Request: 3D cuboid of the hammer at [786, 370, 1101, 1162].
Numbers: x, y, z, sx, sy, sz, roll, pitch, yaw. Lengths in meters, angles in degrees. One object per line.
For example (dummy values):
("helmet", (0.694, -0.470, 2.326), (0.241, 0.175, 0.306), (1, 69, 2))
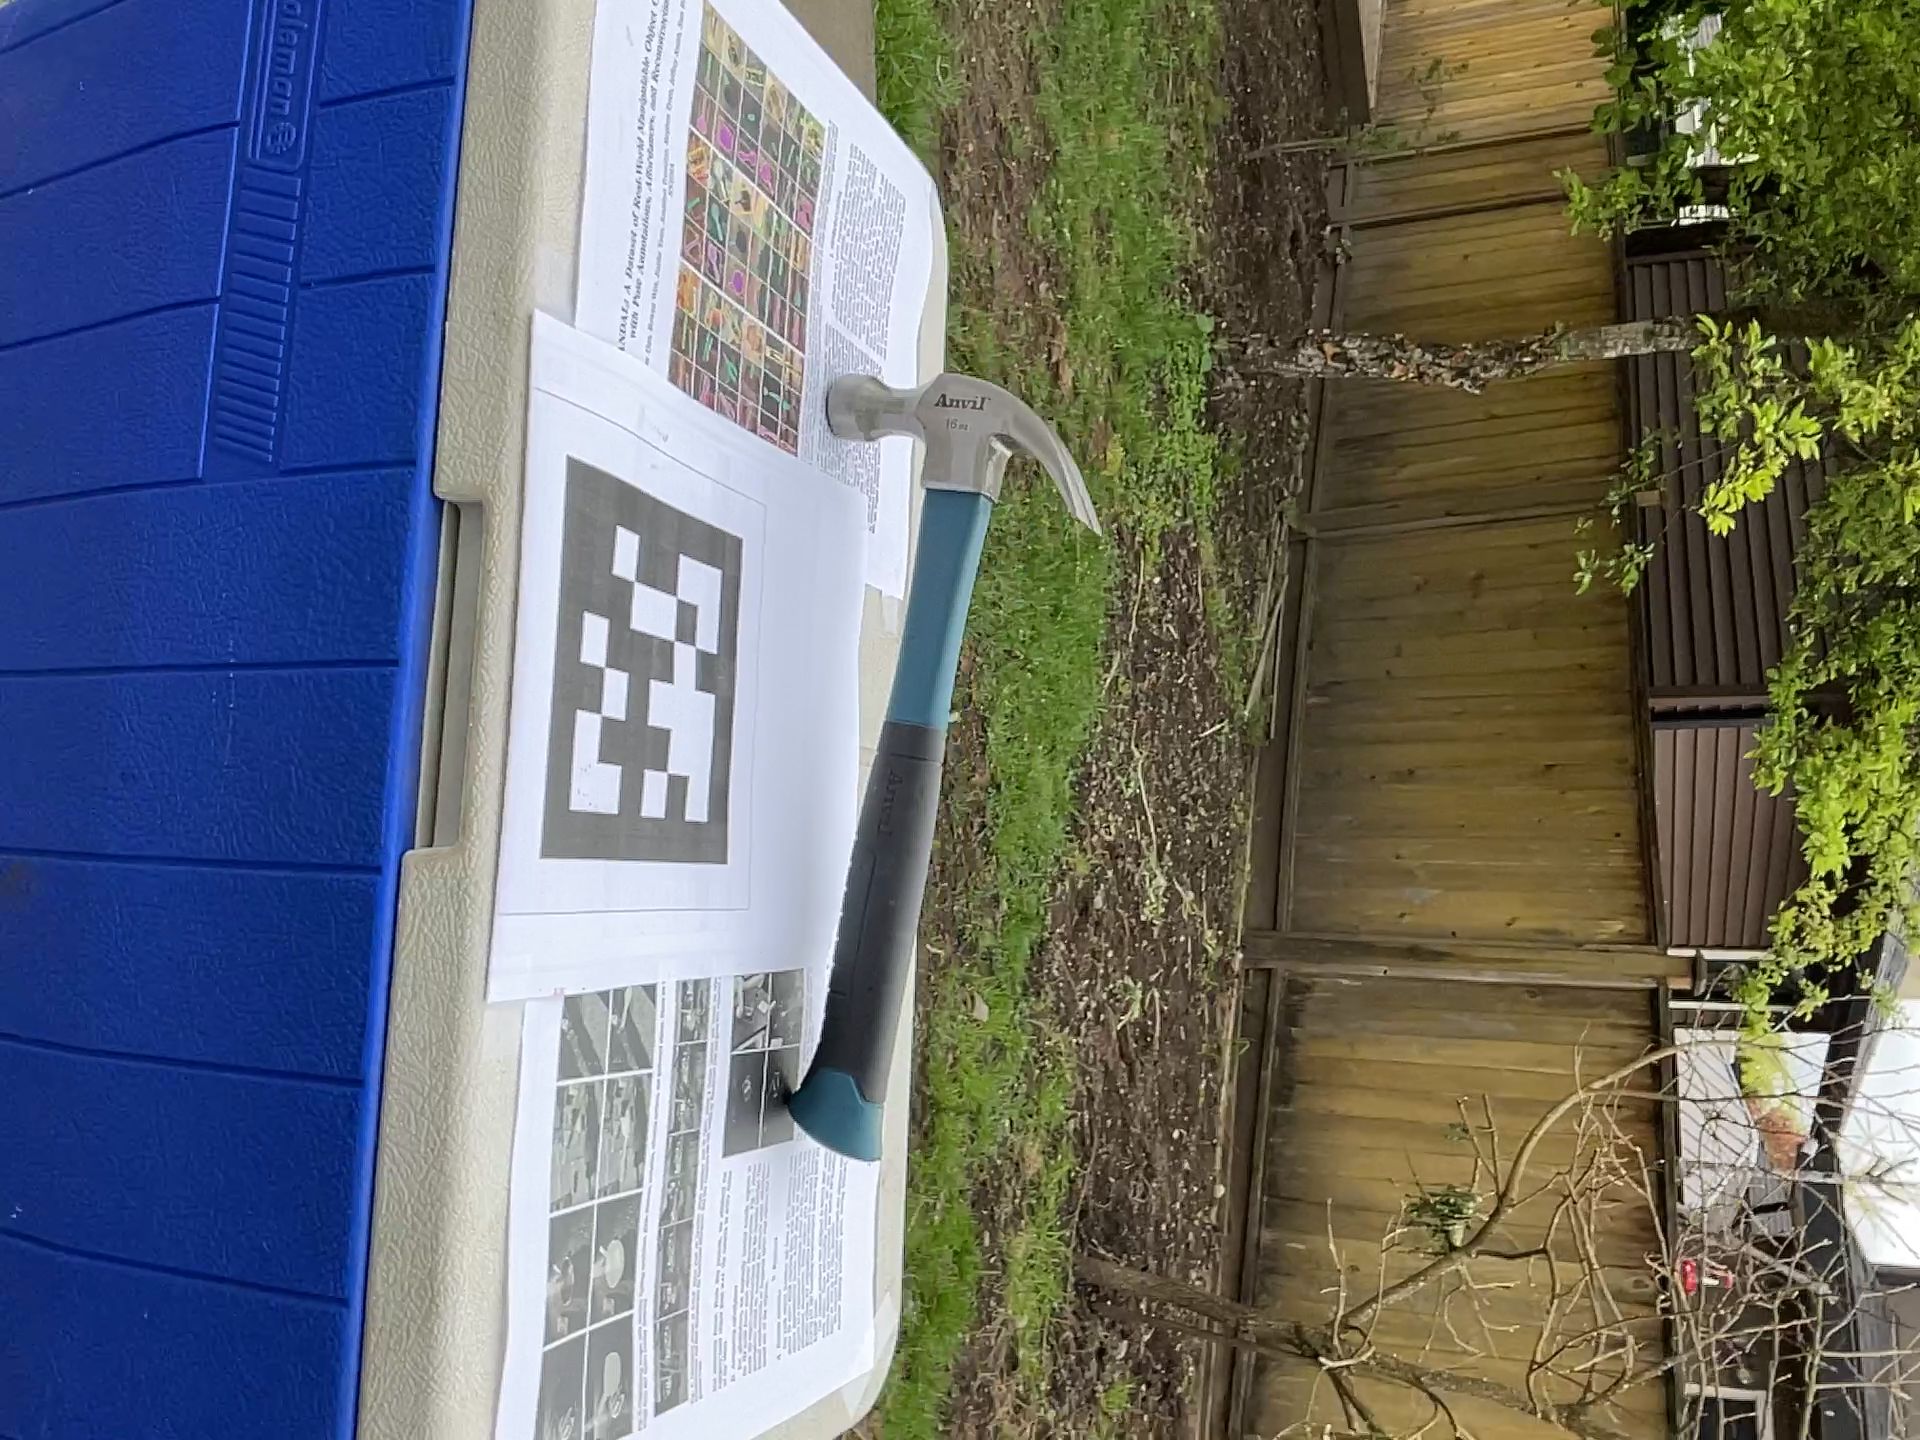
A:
("hammer", (-0.024, 0.015, 0.672), (0.033, 0.128, 0.331), (20, 79, -65))
